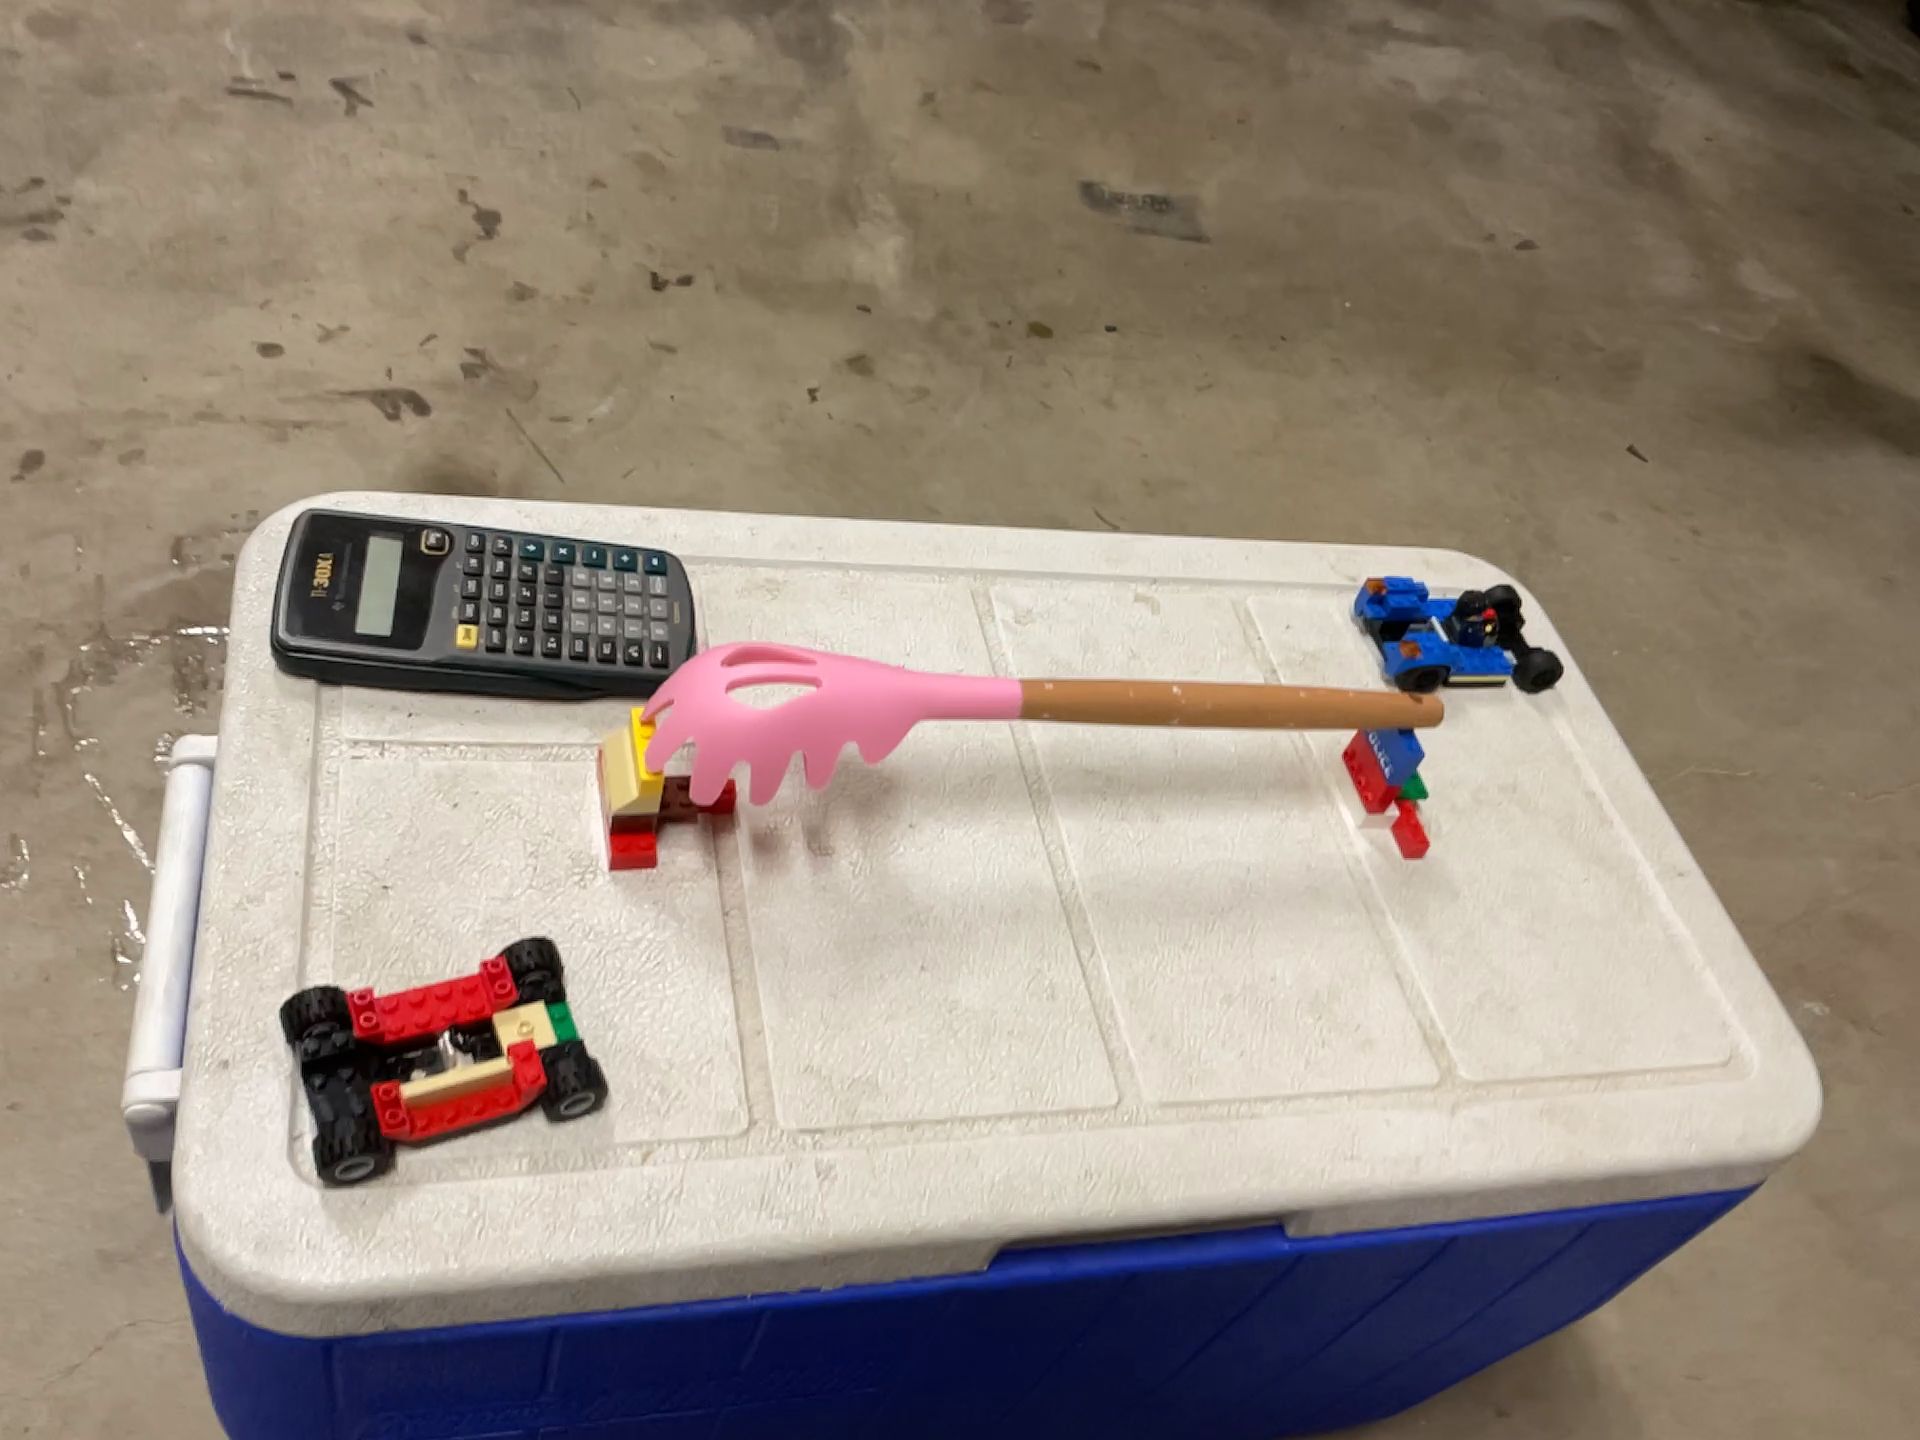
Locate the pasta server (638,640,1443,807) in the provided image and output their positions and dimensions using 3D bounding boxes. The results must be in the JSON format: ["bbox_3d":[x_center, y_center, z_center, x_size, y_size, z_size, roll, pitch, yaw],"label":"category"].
[{"bbox_3d":[0.043,-0.001,0.591,0.316,0.040,0.060,2,47,-22],"label":"pasta server"}]
